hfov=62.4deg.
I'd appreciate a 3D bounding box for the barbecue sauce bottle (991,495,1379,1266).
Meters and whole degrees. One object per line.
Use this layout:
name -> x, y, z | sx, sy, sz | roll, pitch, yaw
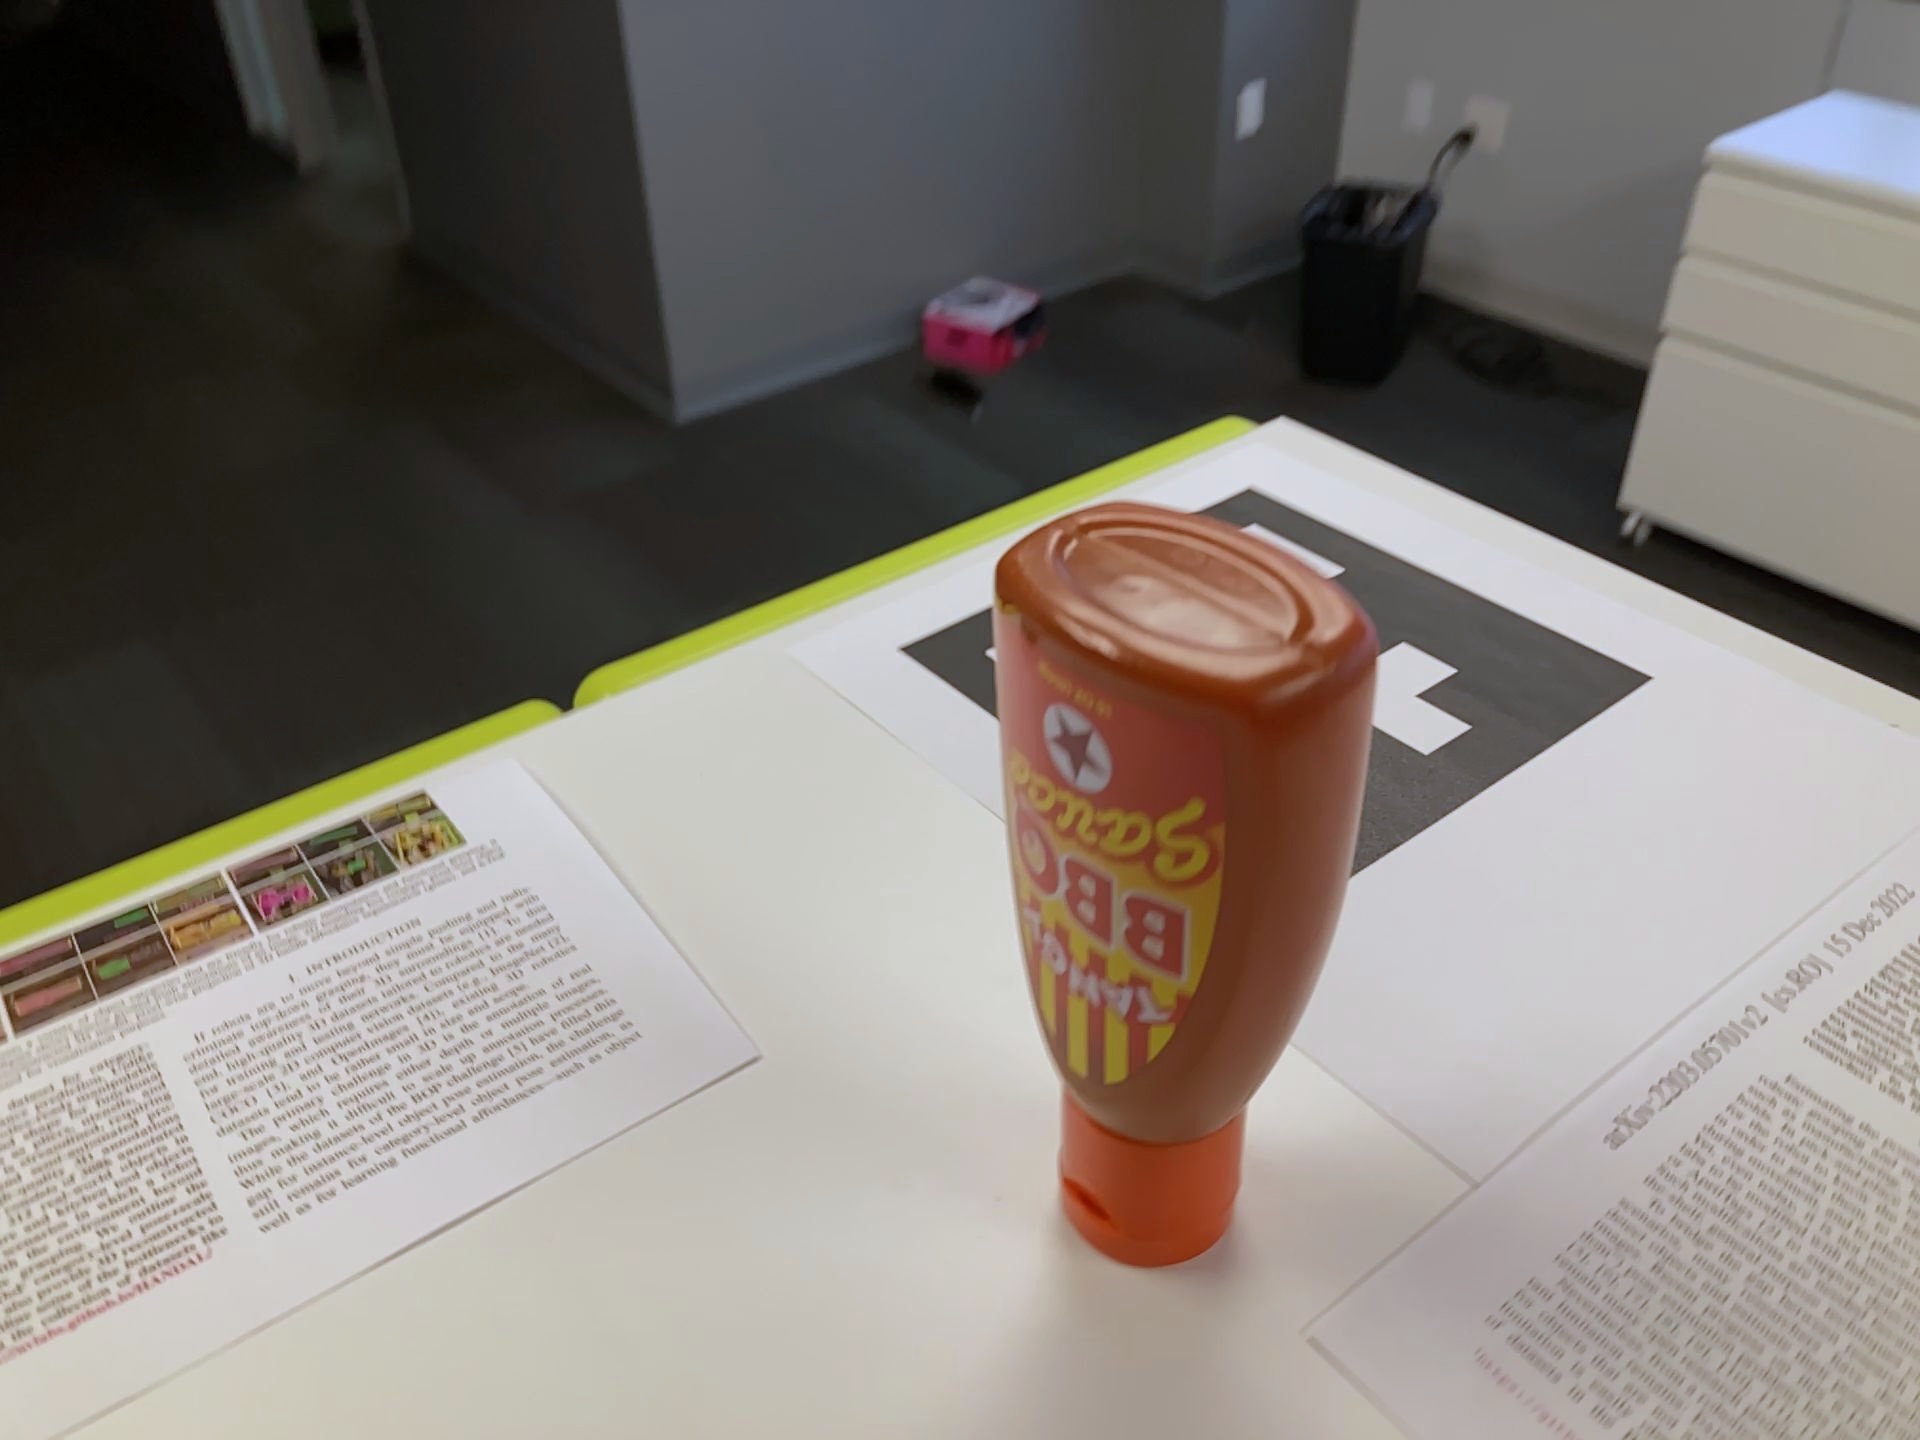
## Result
barbecue sauce bottle -> 0.036, 0.038, 0.284 | 0.043, 0.148, 0.065 | -27, 43, -30
